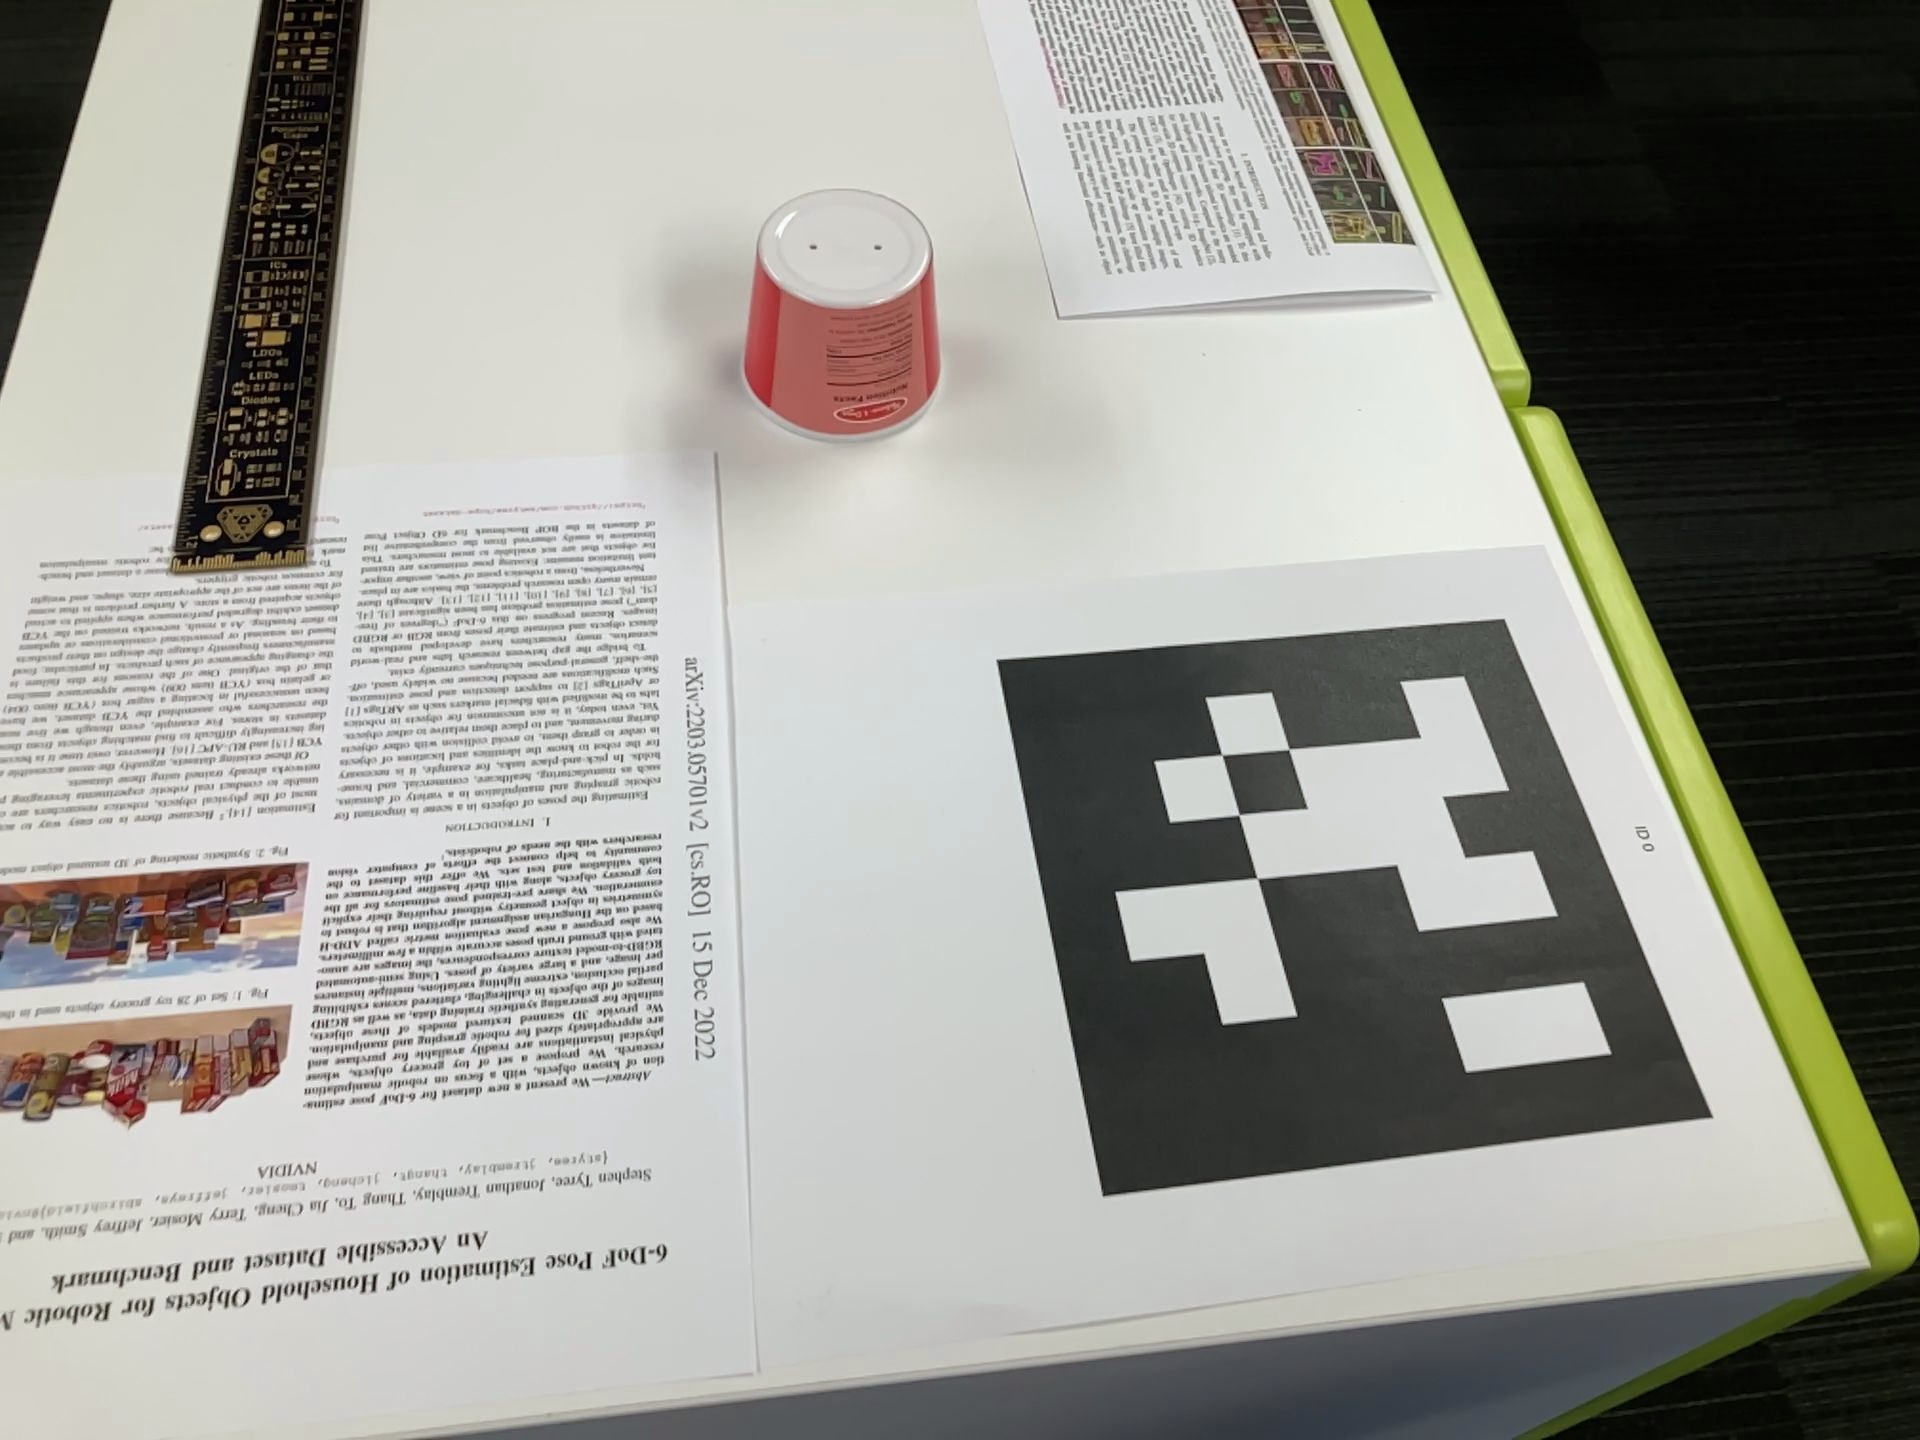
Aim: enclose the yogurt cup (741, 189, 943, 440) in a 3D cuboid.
[{"bbox_3d":[-0.038,-0.134,0.515,0.072,0.054,0.072,3,56,-4],"label":"yogurt cup"}]
